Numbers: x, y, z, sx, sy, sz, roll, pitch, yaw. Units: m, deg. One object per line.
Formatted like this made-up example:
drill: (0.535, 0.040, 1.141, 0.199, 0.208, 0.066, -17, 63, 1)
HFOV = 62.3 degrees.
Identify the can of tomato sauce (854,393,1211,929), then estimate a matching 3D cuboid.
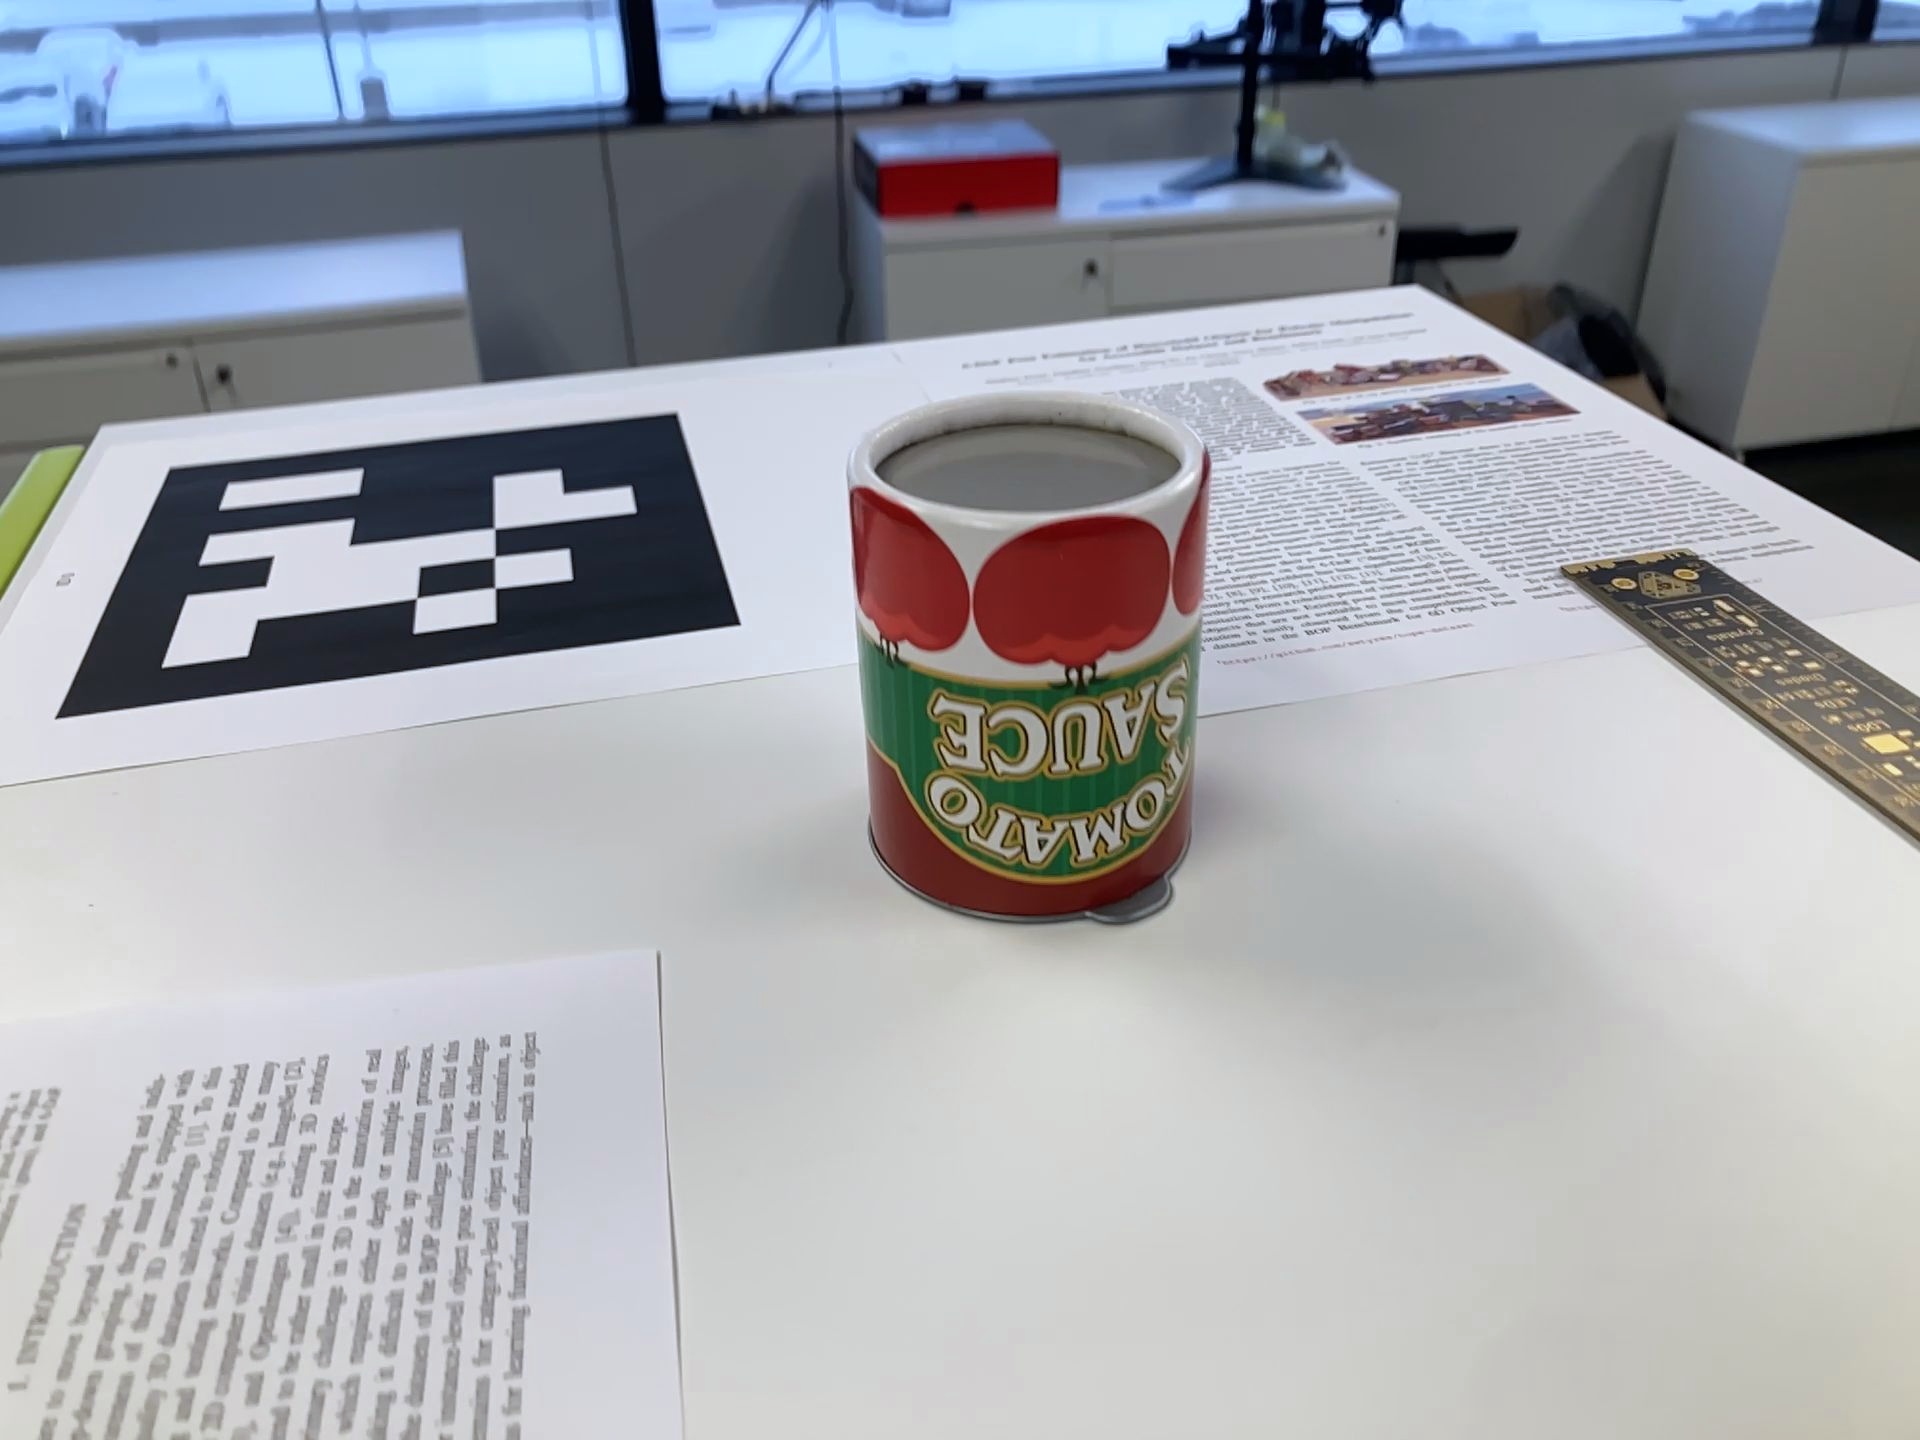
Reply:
can of tomato sauce: (0.013, -0.012, 0.307, 0.071, 0.083, 0.071, 1, 31, 0)
